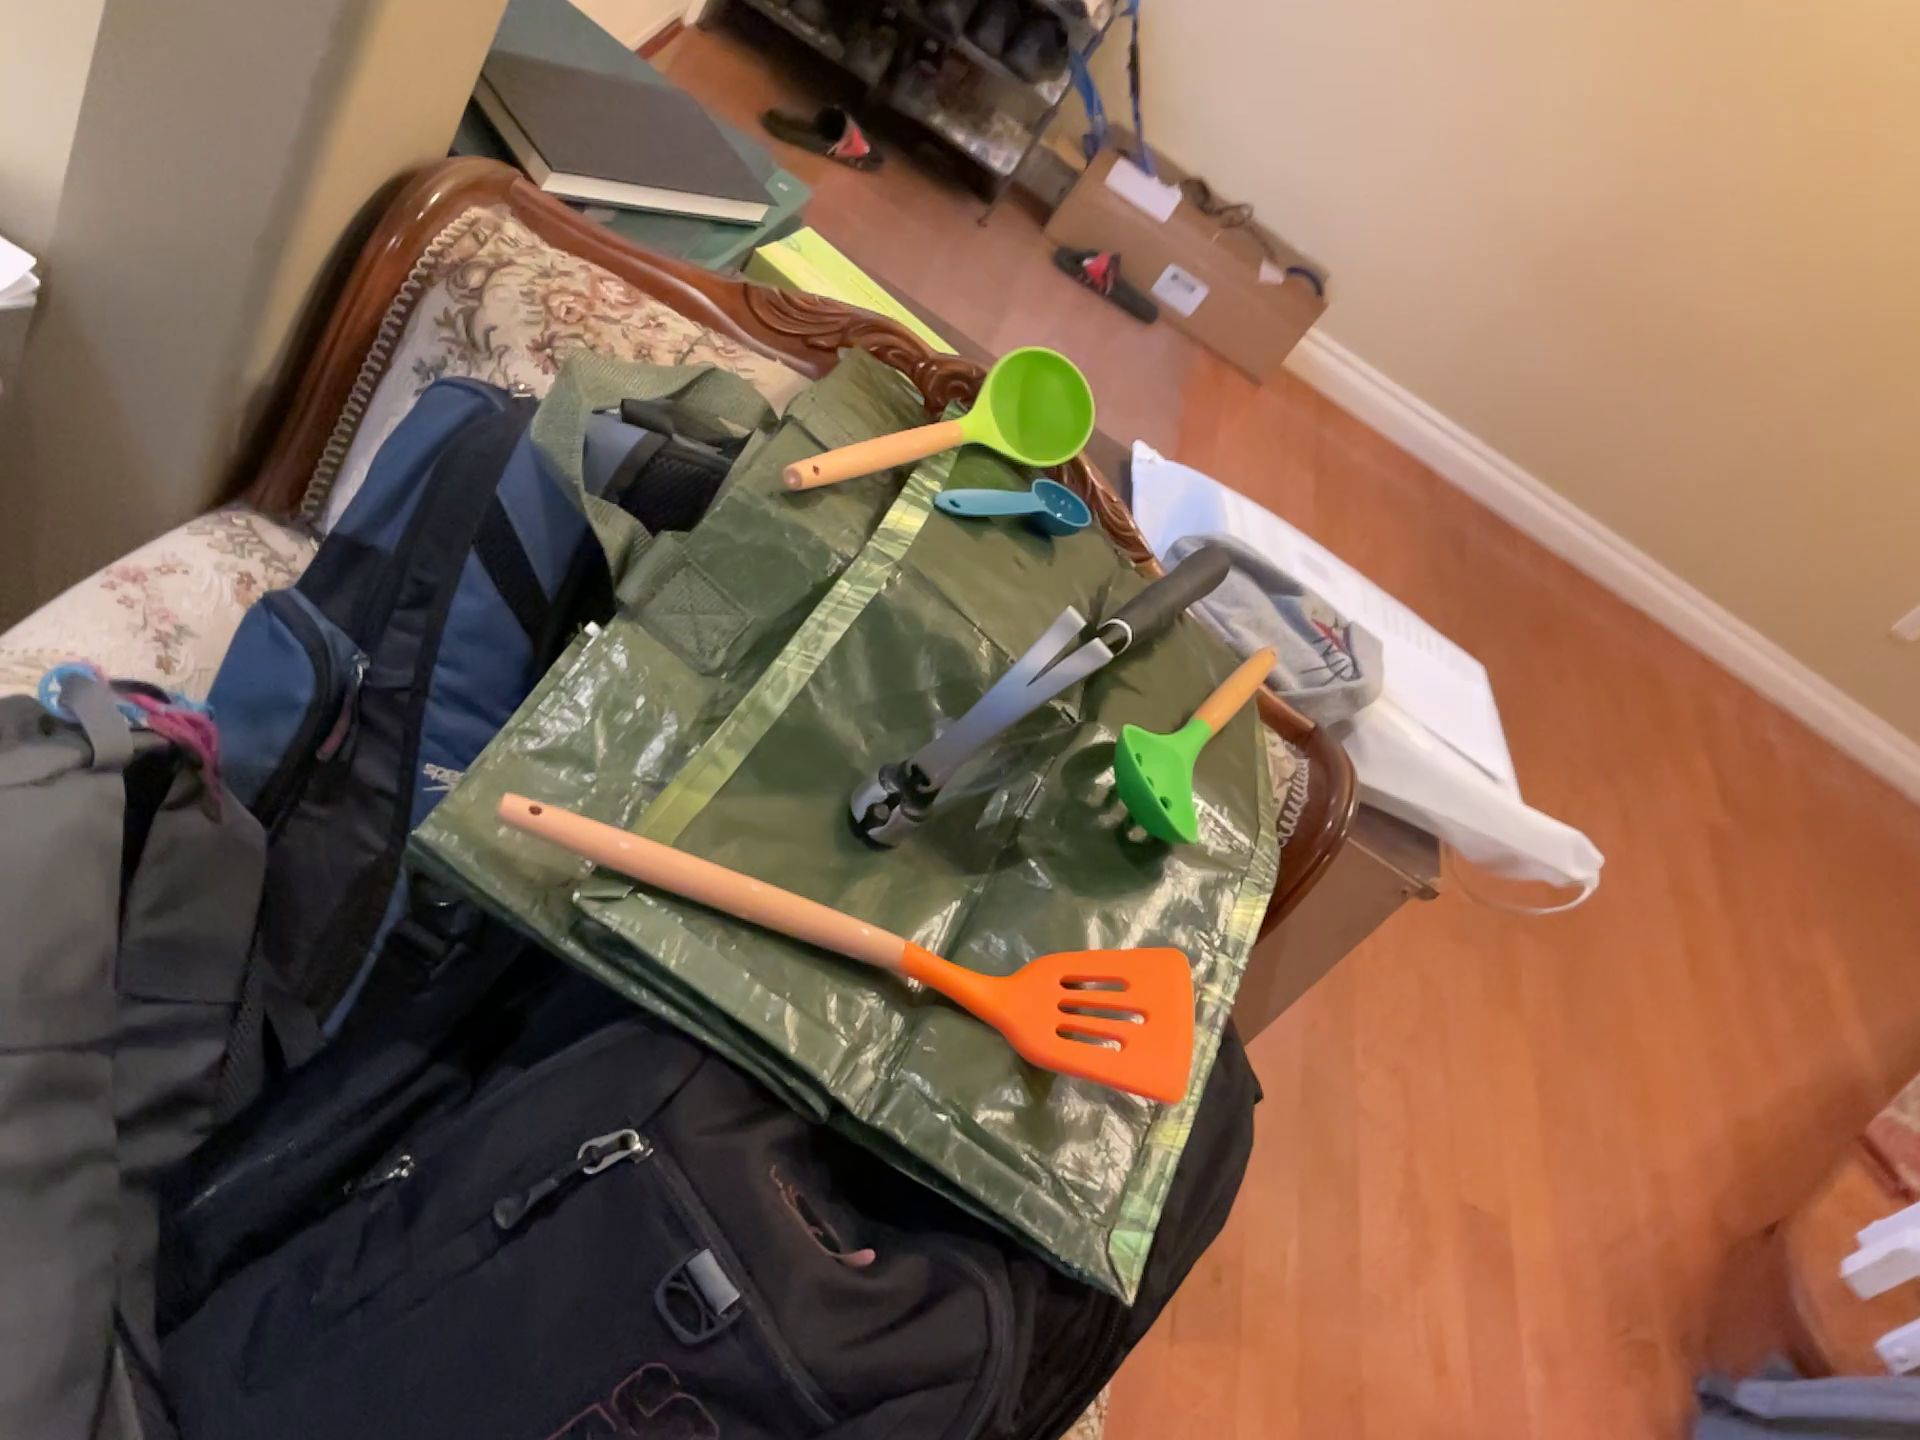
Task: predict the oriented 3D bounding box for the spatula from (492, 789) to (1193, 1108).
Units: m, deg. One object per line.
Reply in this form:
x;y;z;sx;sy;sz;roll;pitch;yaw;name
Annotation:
-0.046;0.091;0.695;0.322;0.041;0.081;23;46;-15;spatula

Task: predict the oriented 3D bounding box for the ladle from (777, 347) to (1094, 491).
-0.007;-0.166;0.915;0.320;0.062;0.078;-32;100;-59;ladle

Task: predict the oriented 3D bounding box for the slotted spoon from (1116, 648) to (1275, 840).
0.146;0.001;0.922;0.070;0.031;0.313;56;28;-1;slotted spoon

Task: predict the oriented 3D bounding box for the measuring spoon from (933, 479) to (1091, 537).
0.027;-0.121;0.928;0.128;0.021;0.042;-7;53;-46;measuring spoon

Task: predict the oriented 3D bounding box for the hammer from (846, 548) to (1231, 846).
0.083;-0.046;0.896;0.036;0.149;0.409;51;30;3;hammer
